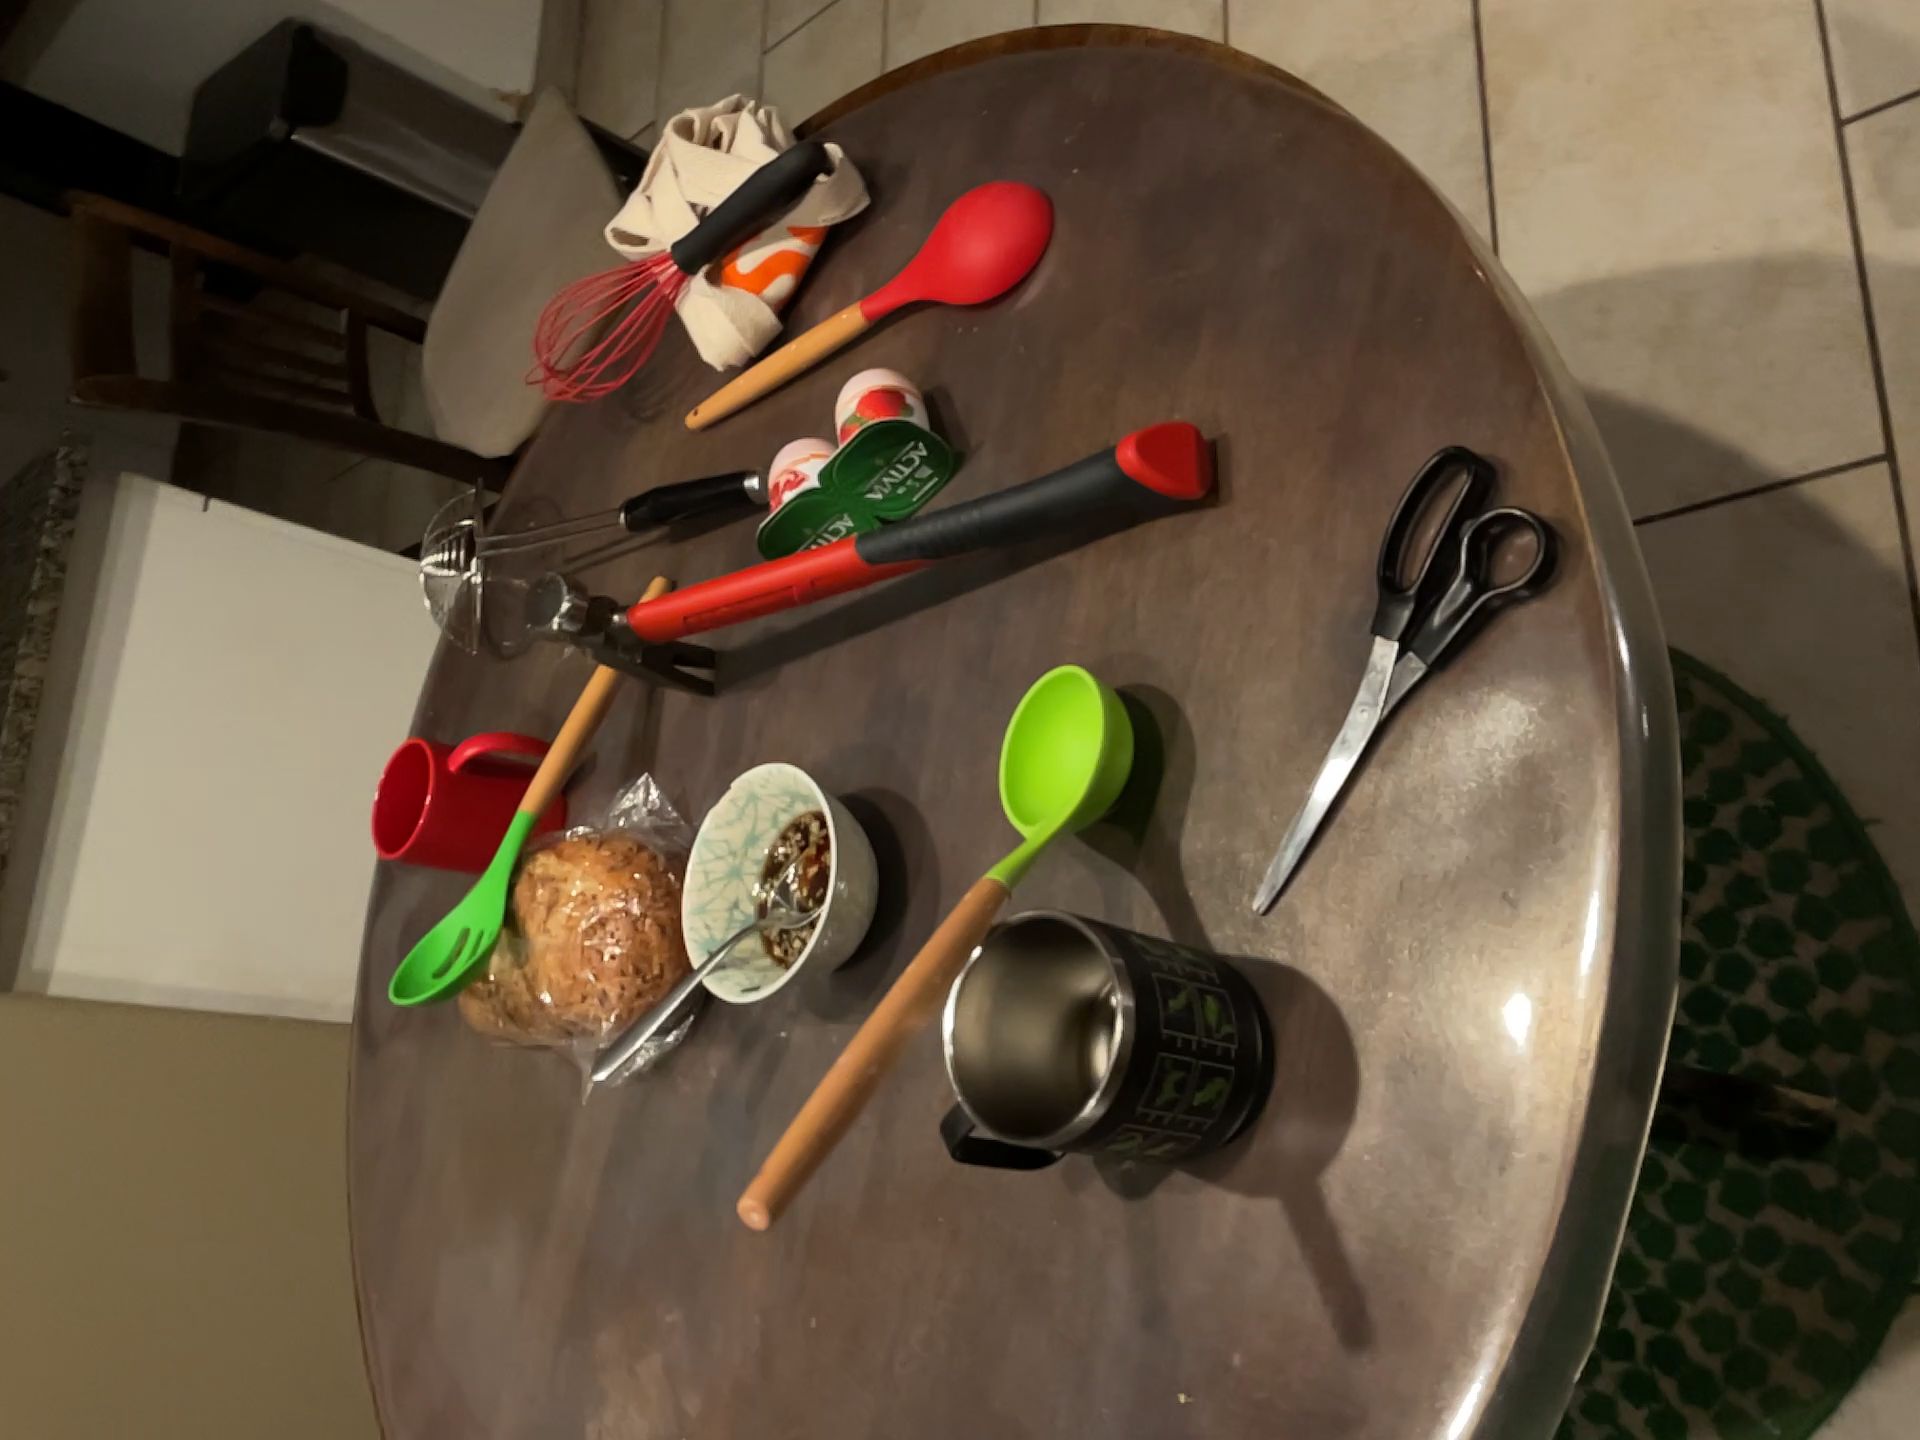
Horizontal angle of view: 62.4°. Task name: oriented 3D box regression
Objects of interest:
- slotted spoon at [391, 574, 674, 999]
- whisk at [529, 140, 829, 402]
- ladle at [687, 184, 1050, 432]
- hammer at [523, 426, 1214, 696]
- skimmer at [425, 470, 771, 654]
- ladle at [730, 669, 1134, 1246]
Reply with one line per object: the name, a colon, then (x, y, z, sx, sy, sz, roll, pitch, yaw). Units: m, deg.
slotted spoon: (-0.248, 0.035, 0.965, 0.070, 0.031, 0.314, -3, 52, 41)
whisk: (-0.186, -0.284, 1.012, 0.296, 0.073, 0.073, -25, 59, 38)
ladle: (-0.070, -0.235, 0.949, 0.315, 0.031, 0.069, -19, 63, 43)
hammer: (-0.043, -0.078, 0.832, 0.386, 0.143, 0.038, -12, 69, 31)
skimmer: (-0.247, -0.124, 1.092, 0.363, 0.090, 0.127, -6, 80, 34)
ladle: (-0.007, 0.076, 0.616, 0.062, 0.320, 0.078, 43, 129, 0)
